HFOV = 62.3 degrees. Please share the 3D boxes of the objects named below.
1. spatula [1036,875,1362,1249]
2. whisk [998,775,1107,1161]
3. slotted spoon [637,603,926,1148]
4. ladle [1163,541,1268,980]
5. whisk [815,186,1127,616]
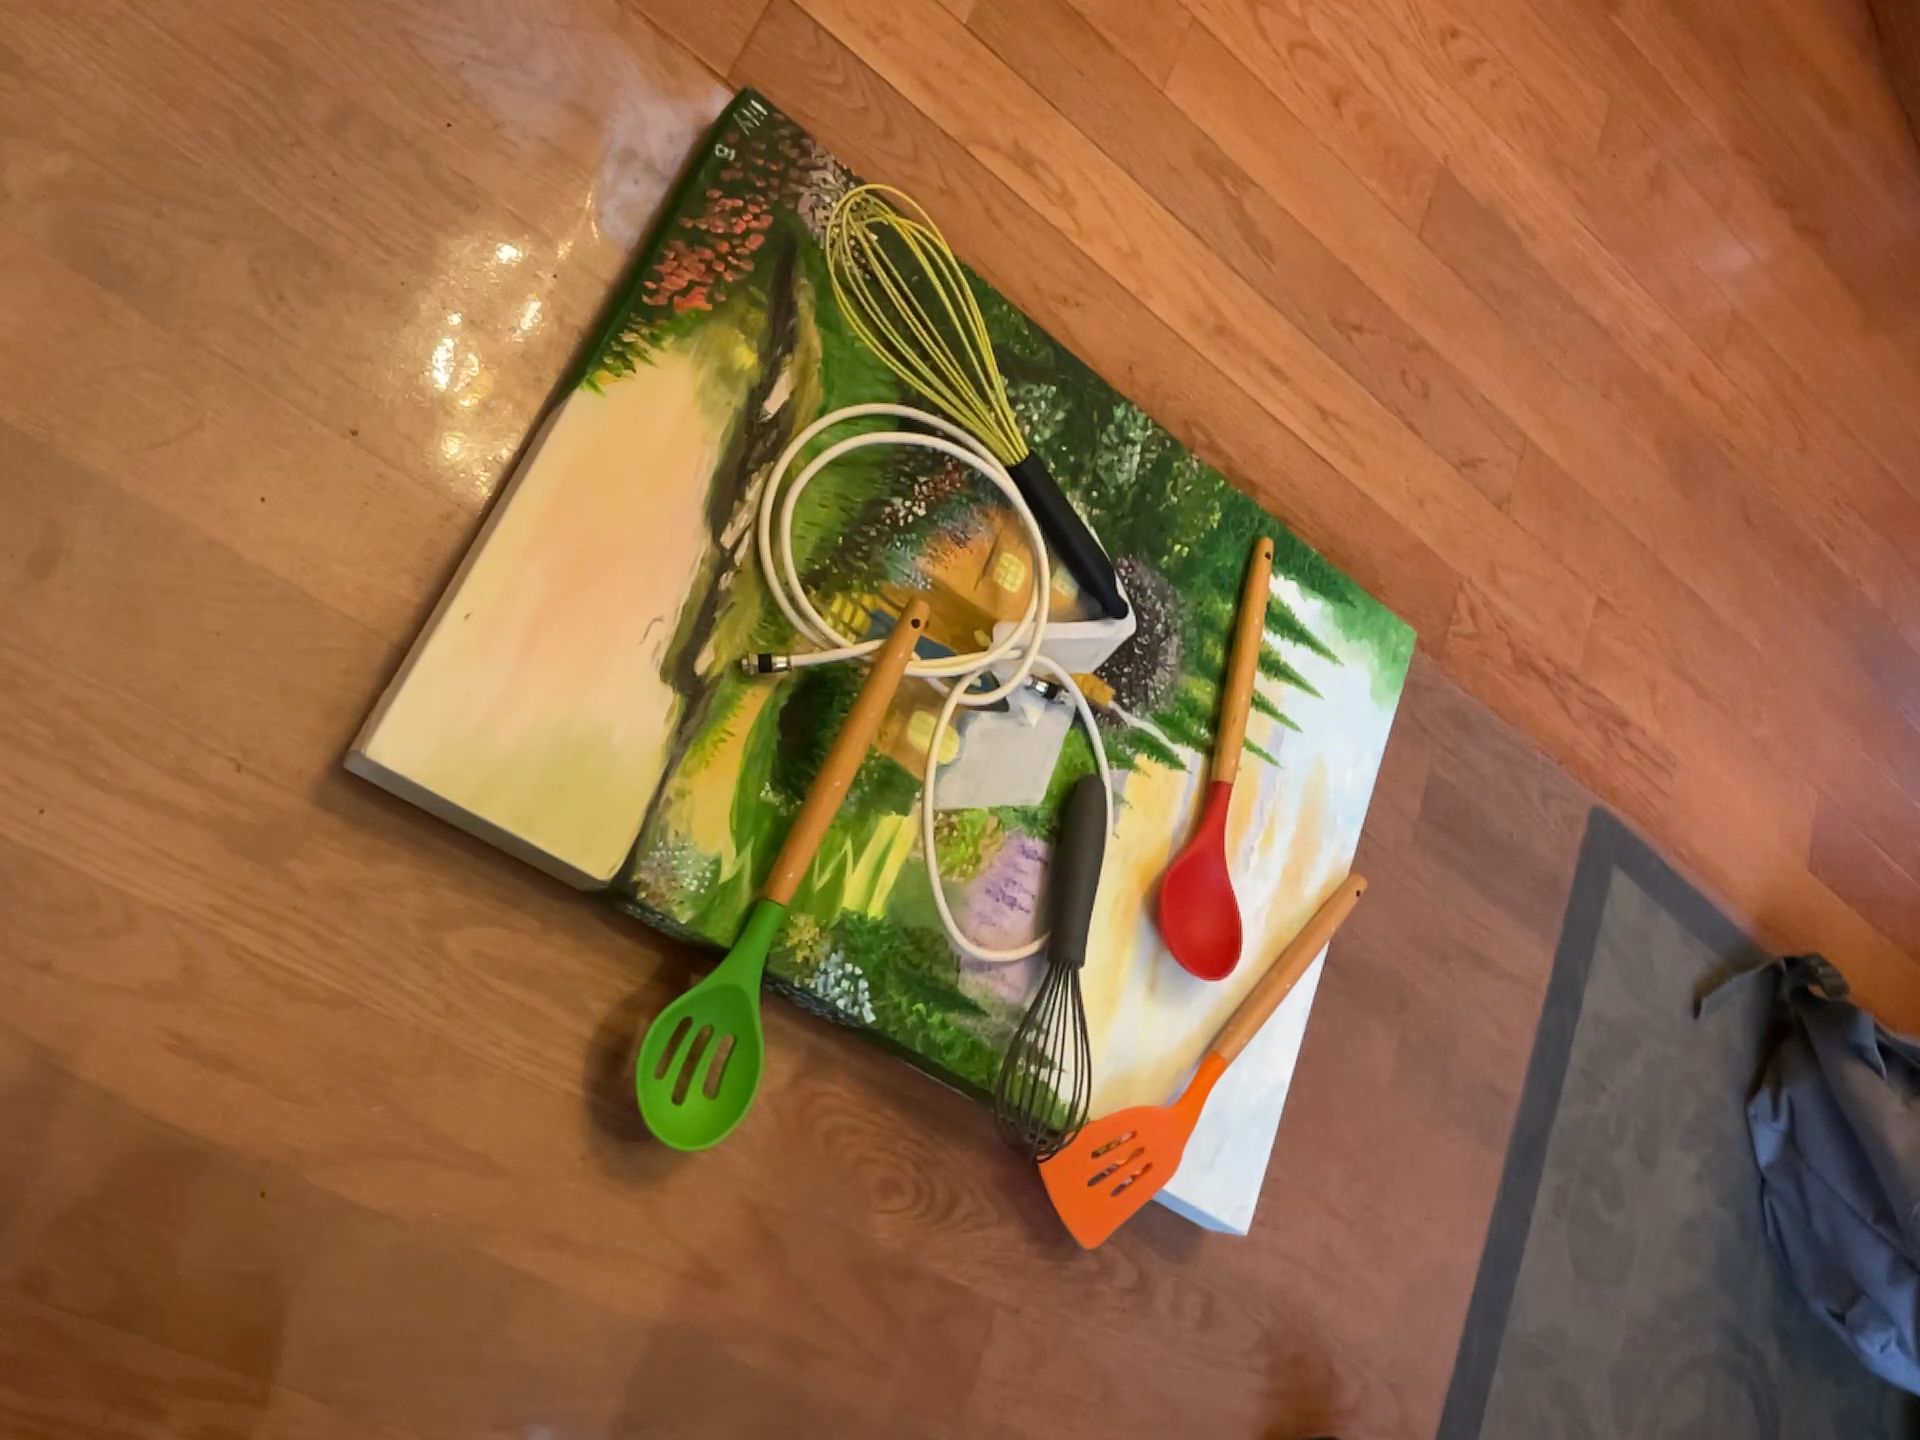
[{"bbox_3d":[0.168,0.201,1.019,0.323,0.041,0.081,-42,115,-34],"label":"spatula"},{"bbox_3d":[0.062,0.141,0.938,0.055,0.055,0.239,31,58,-37],"label":"whisk"},{"bbox_3d":[-0.088,0.076,0.854,0.070,0.031,0.314,30,77,-25],"label":"slotted spoon"},{"bbox_3d":[0.177,0.019,1.051,0.069,0.031,0.316,25,65,-29],"label":"ladle"},{"bbox_3d":[0.016,-0.184,0.972,0.080,0.067,0.311,-47,113,-25],"label":"whisk"}]
